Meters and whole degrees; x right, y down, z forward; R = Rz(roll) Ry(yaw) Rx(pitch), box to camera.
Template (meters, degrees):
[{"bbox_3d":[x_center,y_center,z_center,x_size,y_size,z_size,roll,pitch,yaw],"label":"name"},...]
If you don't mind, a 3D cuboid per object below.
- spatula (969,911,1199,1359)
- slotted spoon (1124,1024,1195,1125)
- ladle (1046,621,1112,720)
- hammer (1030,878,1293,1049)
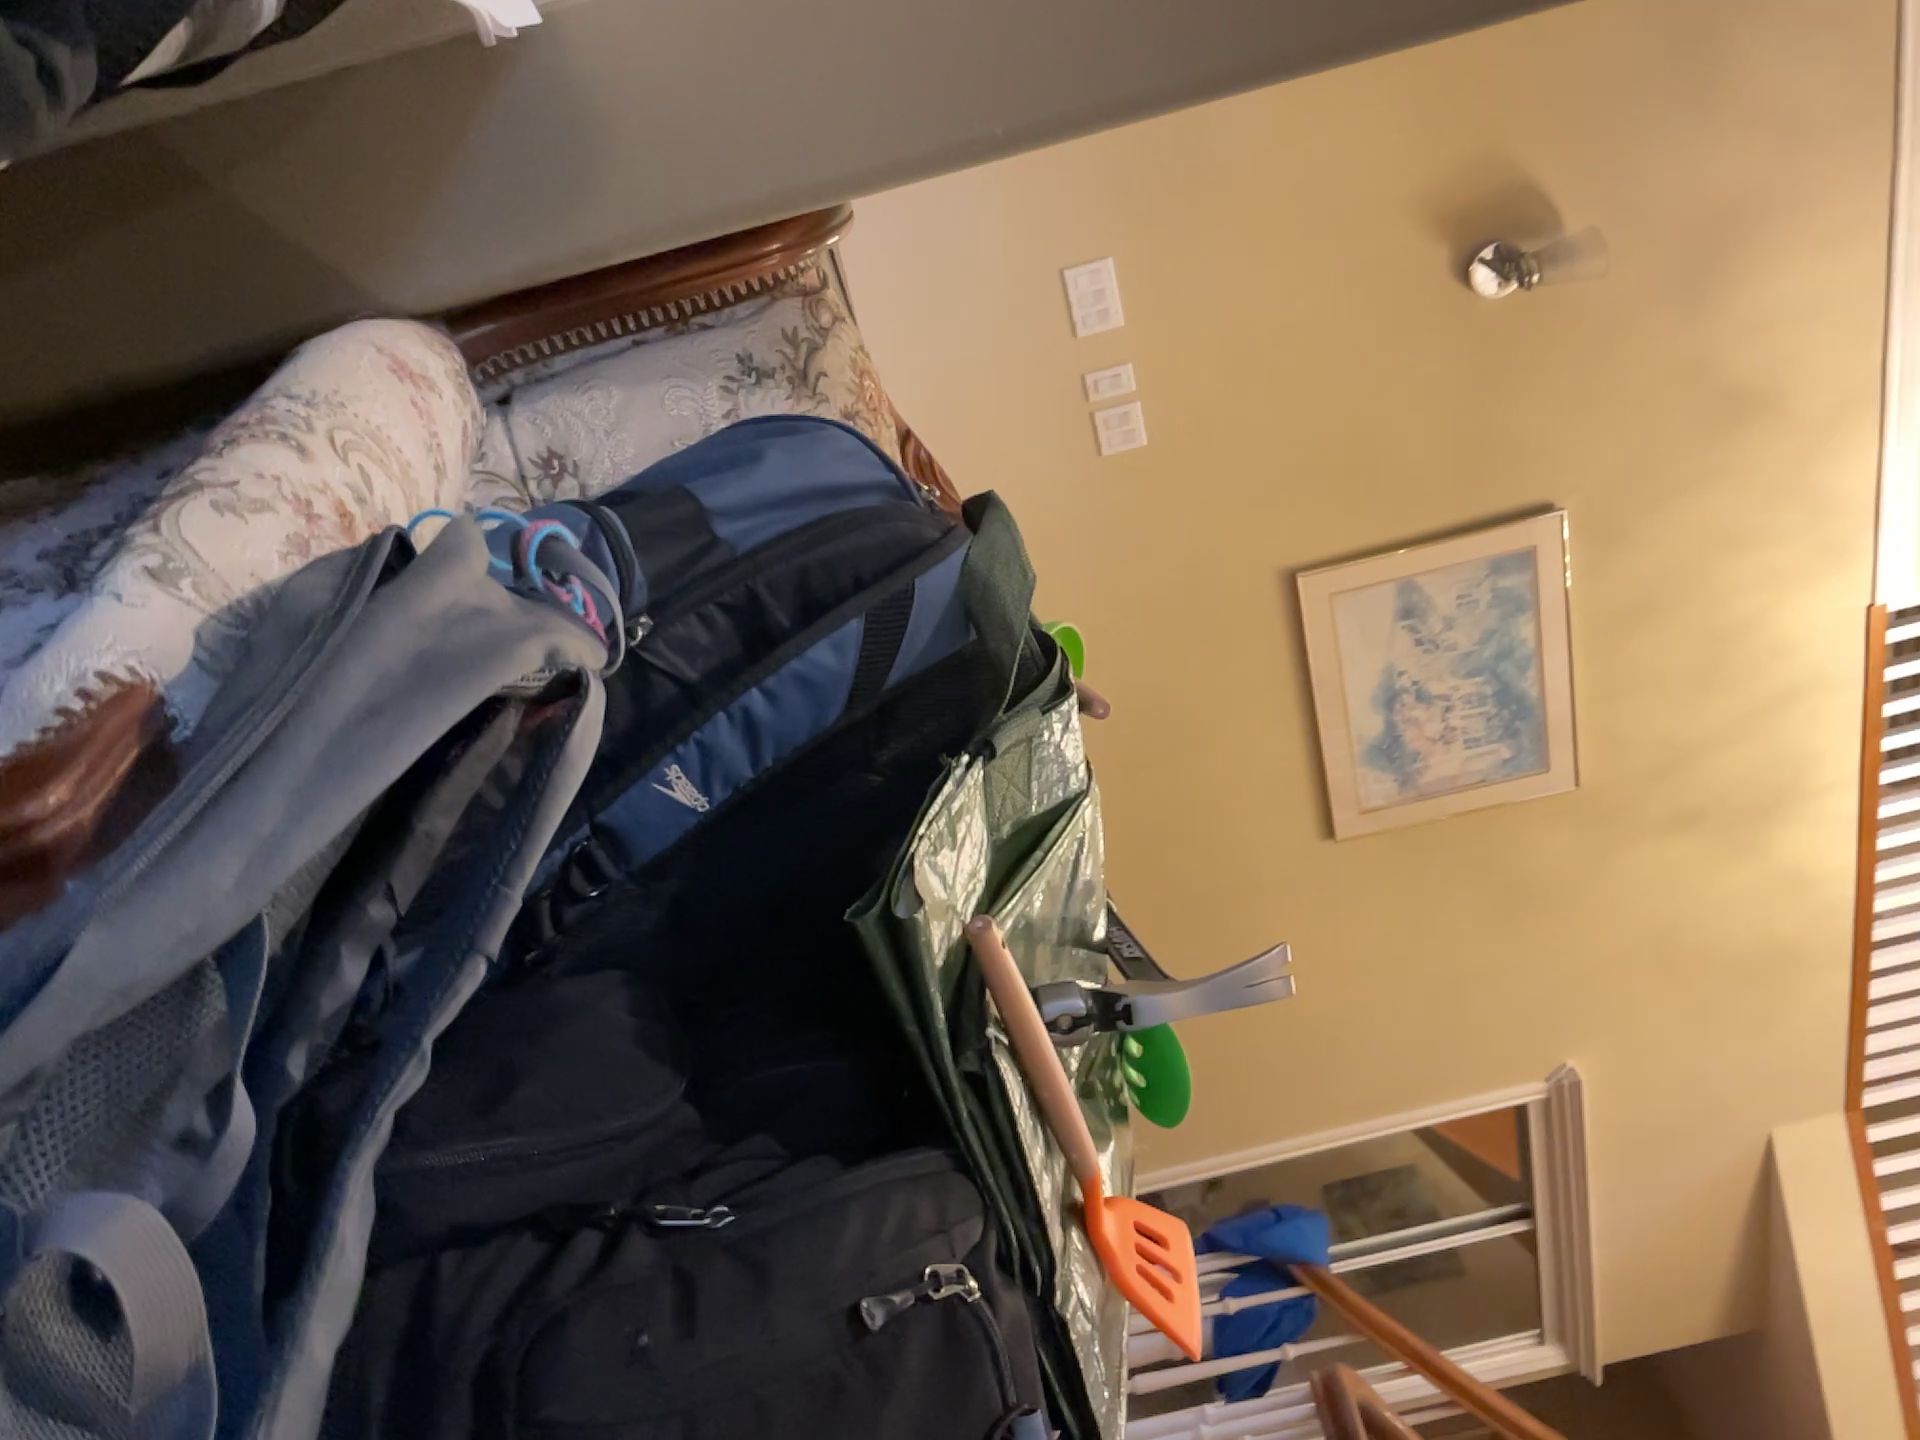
[{"bbox_3d":[0.064,0.204,0.782,0.081,0.041,0.322,-88,162,-50],"label":"spatula"},{"bbox_3d":[0.102,0.197,1.091,0.314,0.031,0.070,-136,-135,-79],"label":"slotted spoon"},{"bbox_3d":[0.076,-0.022,1.037,0.320,0.062,0.078,-129,-131,-82],"label":"ladle"},{"bbox_3d":[0.095,0.128,1.045,0.409,0.149,0.036,-125,-151,-81],"label":"hammer"}]
